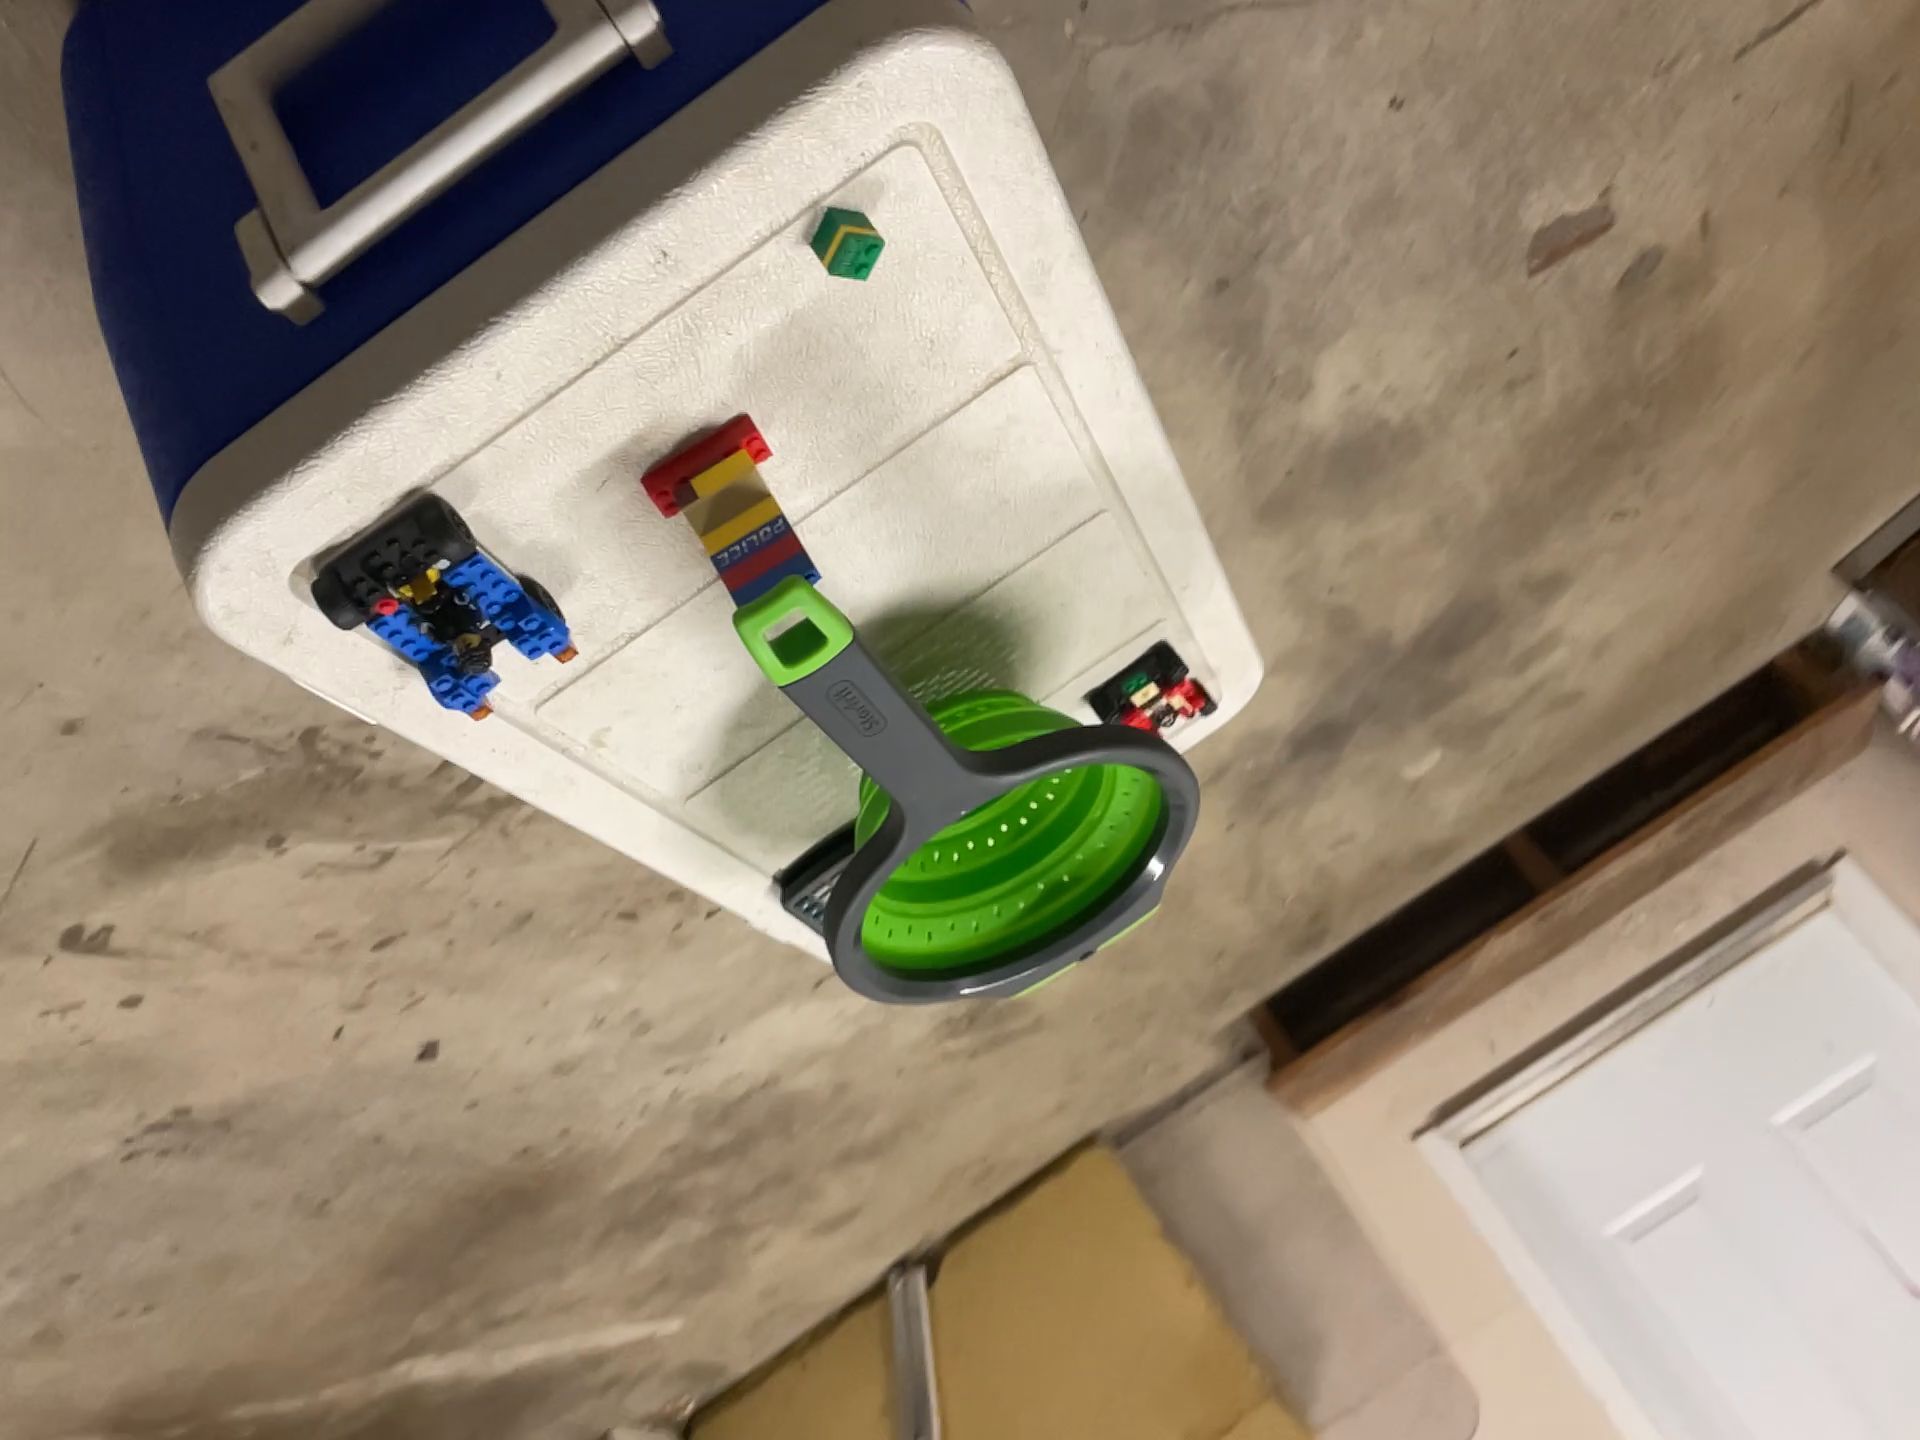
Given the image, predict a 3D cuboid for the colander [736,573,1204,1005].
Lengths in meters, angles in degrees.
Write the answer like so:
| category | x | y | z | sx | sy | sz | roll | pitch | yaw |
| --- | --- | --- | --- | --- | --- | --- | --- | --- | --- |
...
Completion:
| category | x | y | z | sx | sy | sz | roll | pitch | yaw |
| --- | --- | --- | --- | --- | --- | --- | --- | --- | --- |
| colander | -0.014 | 0.016 | 0.753 | 0.204 | 0.095 | 0.396 | -32 | 147 | 4 |
